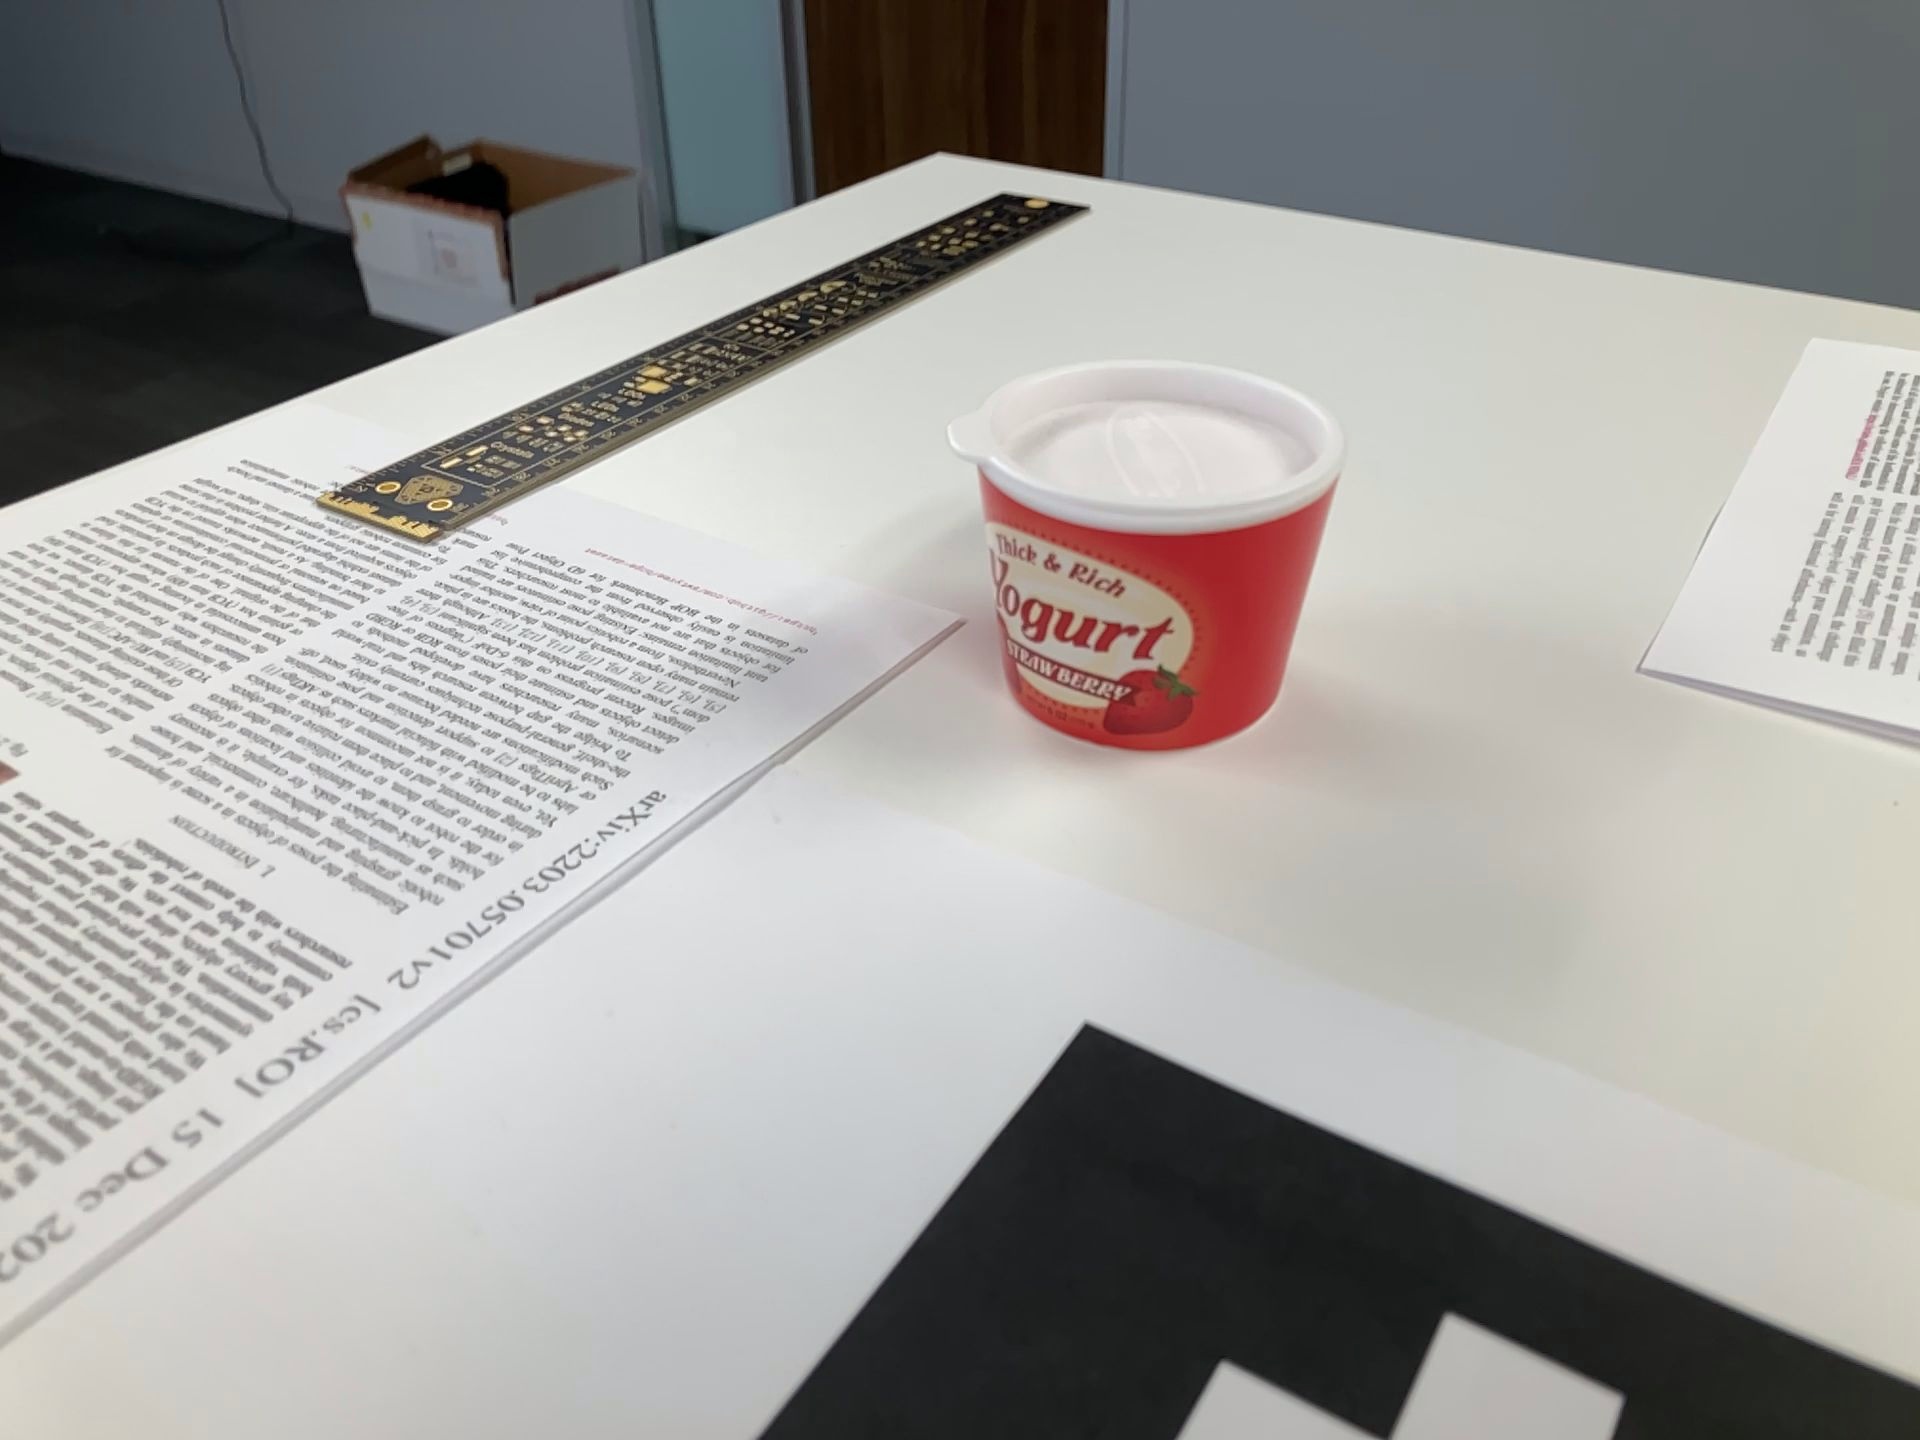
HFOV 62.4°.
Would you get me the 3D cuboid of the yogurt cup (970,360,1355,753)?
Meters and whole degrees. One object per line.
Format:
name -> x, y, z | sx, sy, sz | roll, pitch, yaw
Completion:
yogurt cup -> 0.036, -0.031, 0.296 | 0.072, 0.054, 0.072 | 1, 33, 0
